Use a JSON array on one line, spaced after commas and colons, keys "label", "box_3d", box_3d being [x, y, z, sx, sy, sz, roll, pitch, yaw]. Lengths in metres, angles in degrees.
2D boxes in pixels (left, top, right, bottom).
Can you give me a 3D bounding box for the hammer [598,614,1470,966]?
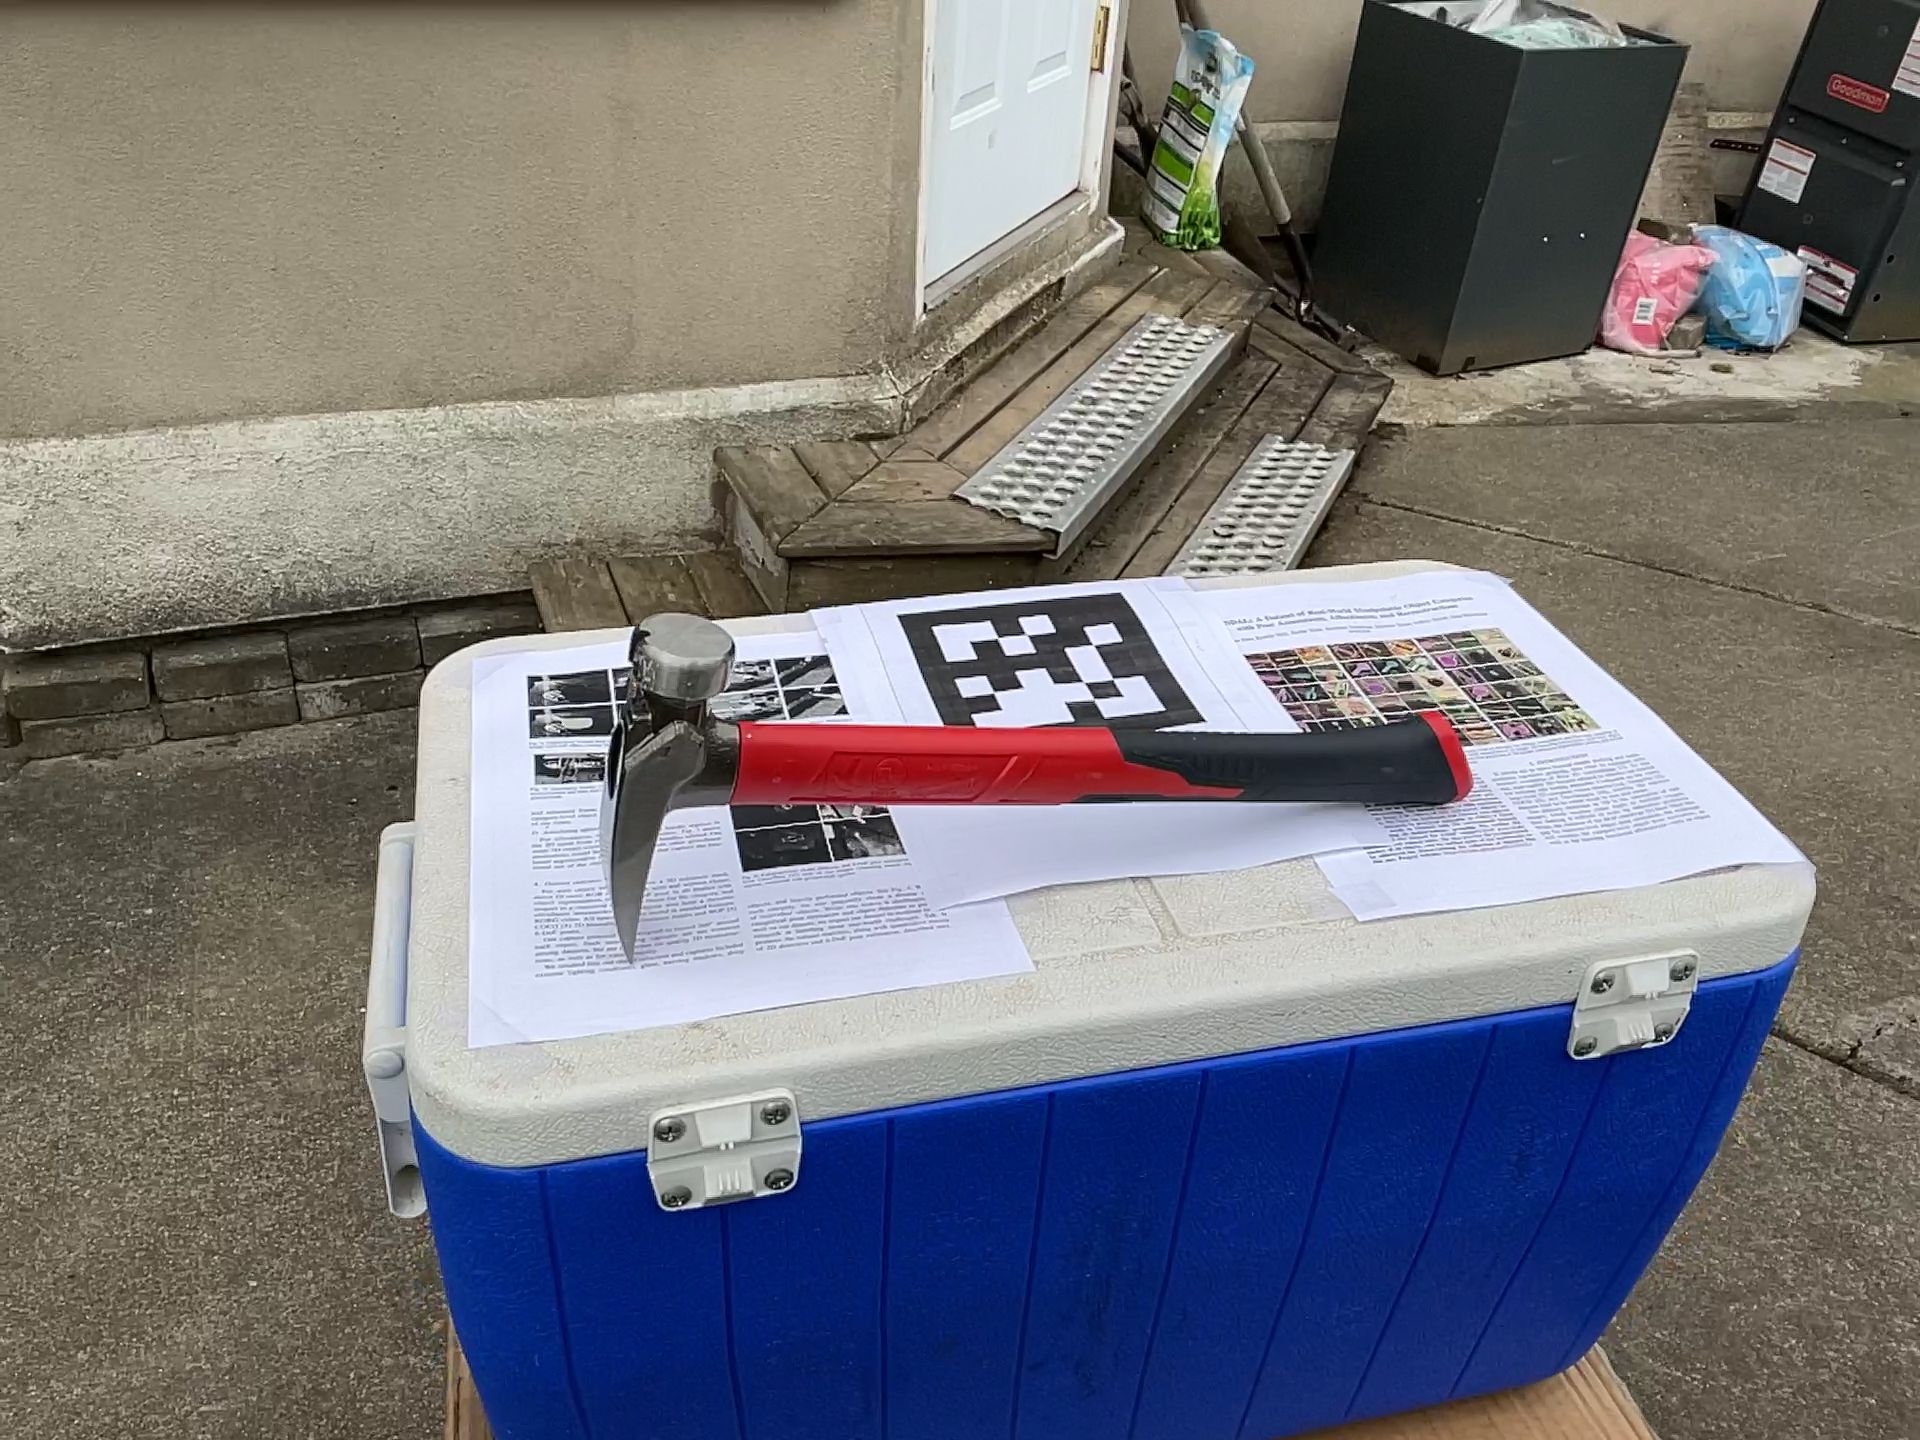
[{"label": "hammer", "box_3d": [0.046, 0.033, 0.674, 0.386, 0.143, 0.038, 1, 32, -23]}]
